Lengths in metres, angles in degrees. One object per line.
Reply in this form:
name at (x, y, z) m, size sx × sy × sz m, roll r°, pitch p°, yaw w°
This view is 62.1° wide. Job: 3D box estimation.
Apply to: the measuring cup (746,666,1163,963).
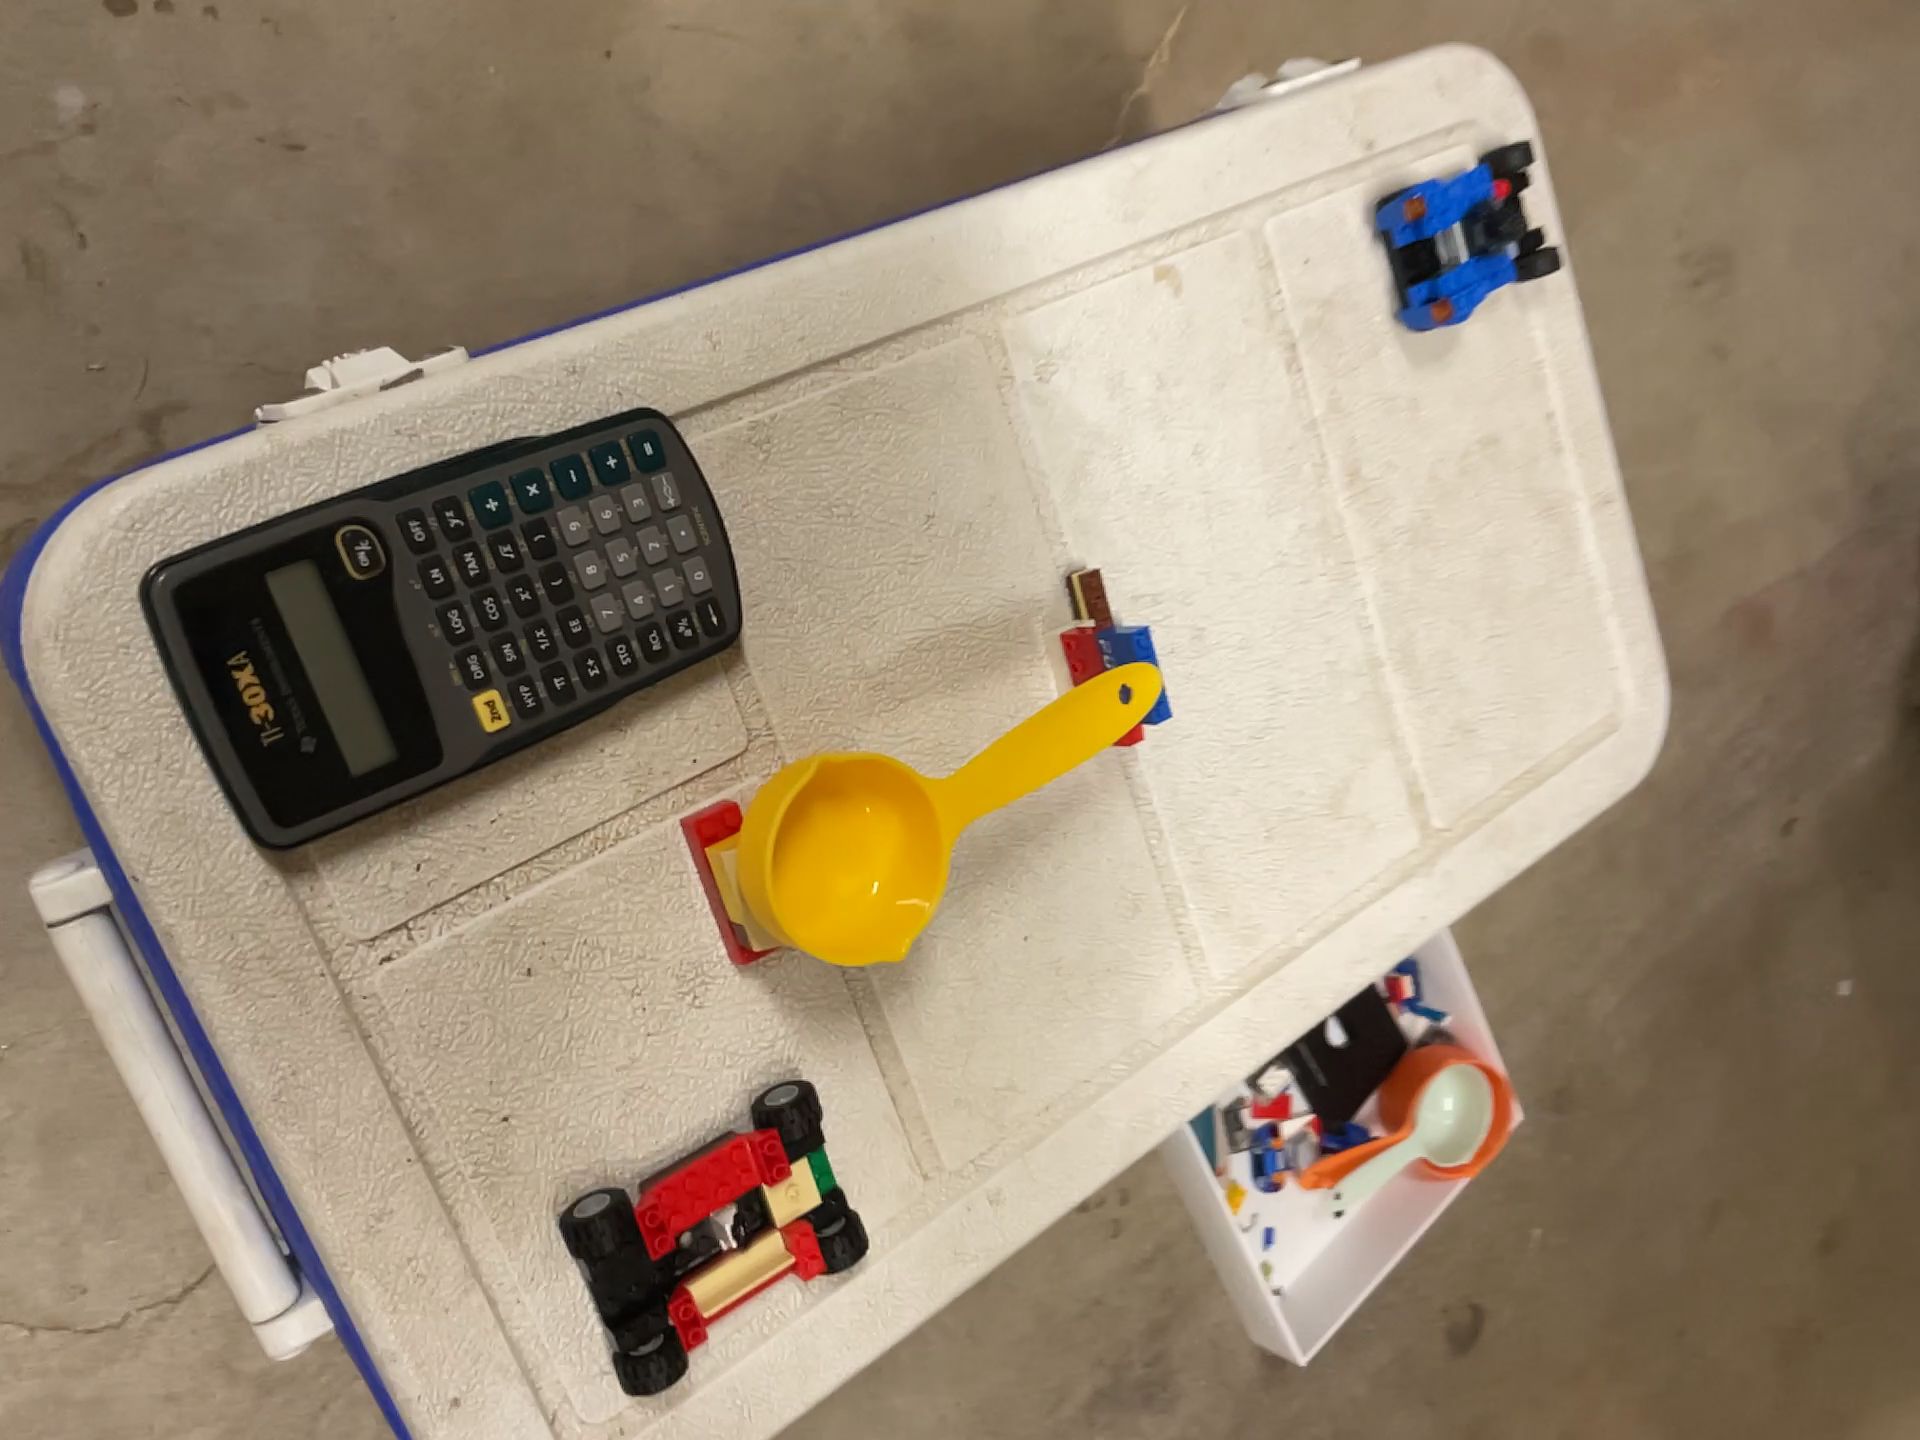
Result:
measuring cup at (0.001, 0.019, 0.487) m, size 0.156 × 0.029 × 0.062 m, roll -29°, pitch 108°, yaw -33°
